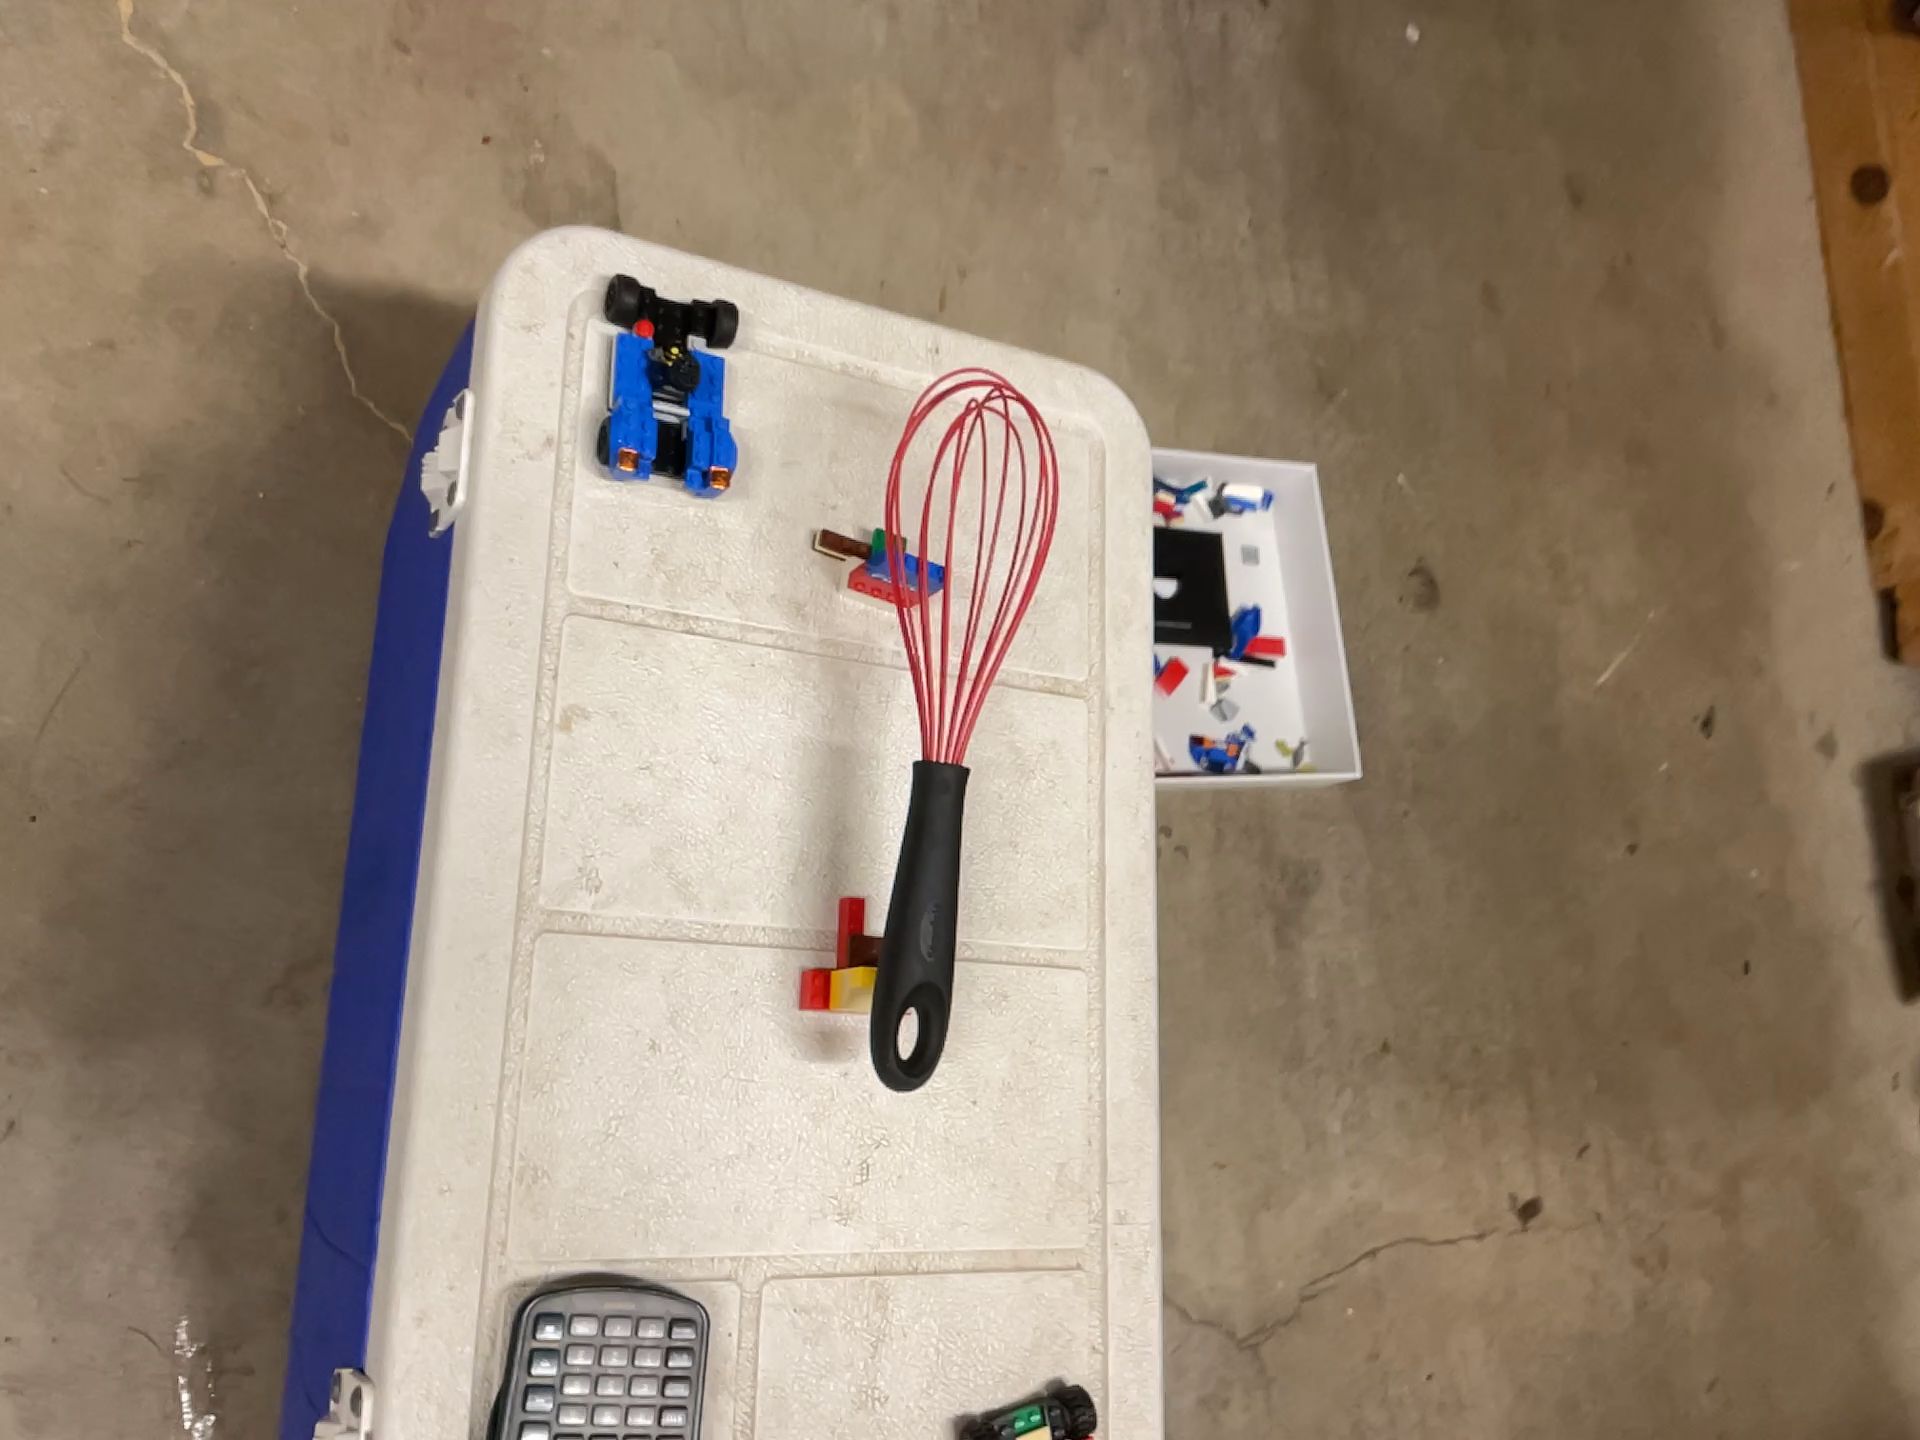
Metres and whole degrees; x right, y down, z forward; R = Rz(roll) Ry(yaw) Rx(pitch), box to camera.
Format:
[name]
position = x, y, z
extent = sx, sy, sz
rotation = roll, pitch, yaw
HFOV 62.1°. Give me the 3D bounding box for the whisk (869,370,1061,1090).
[whisk]
position = -0.005, 0.000, 0.647
extent = 0.073, 0.073, 0.296
rotation = 12, 81, -30
